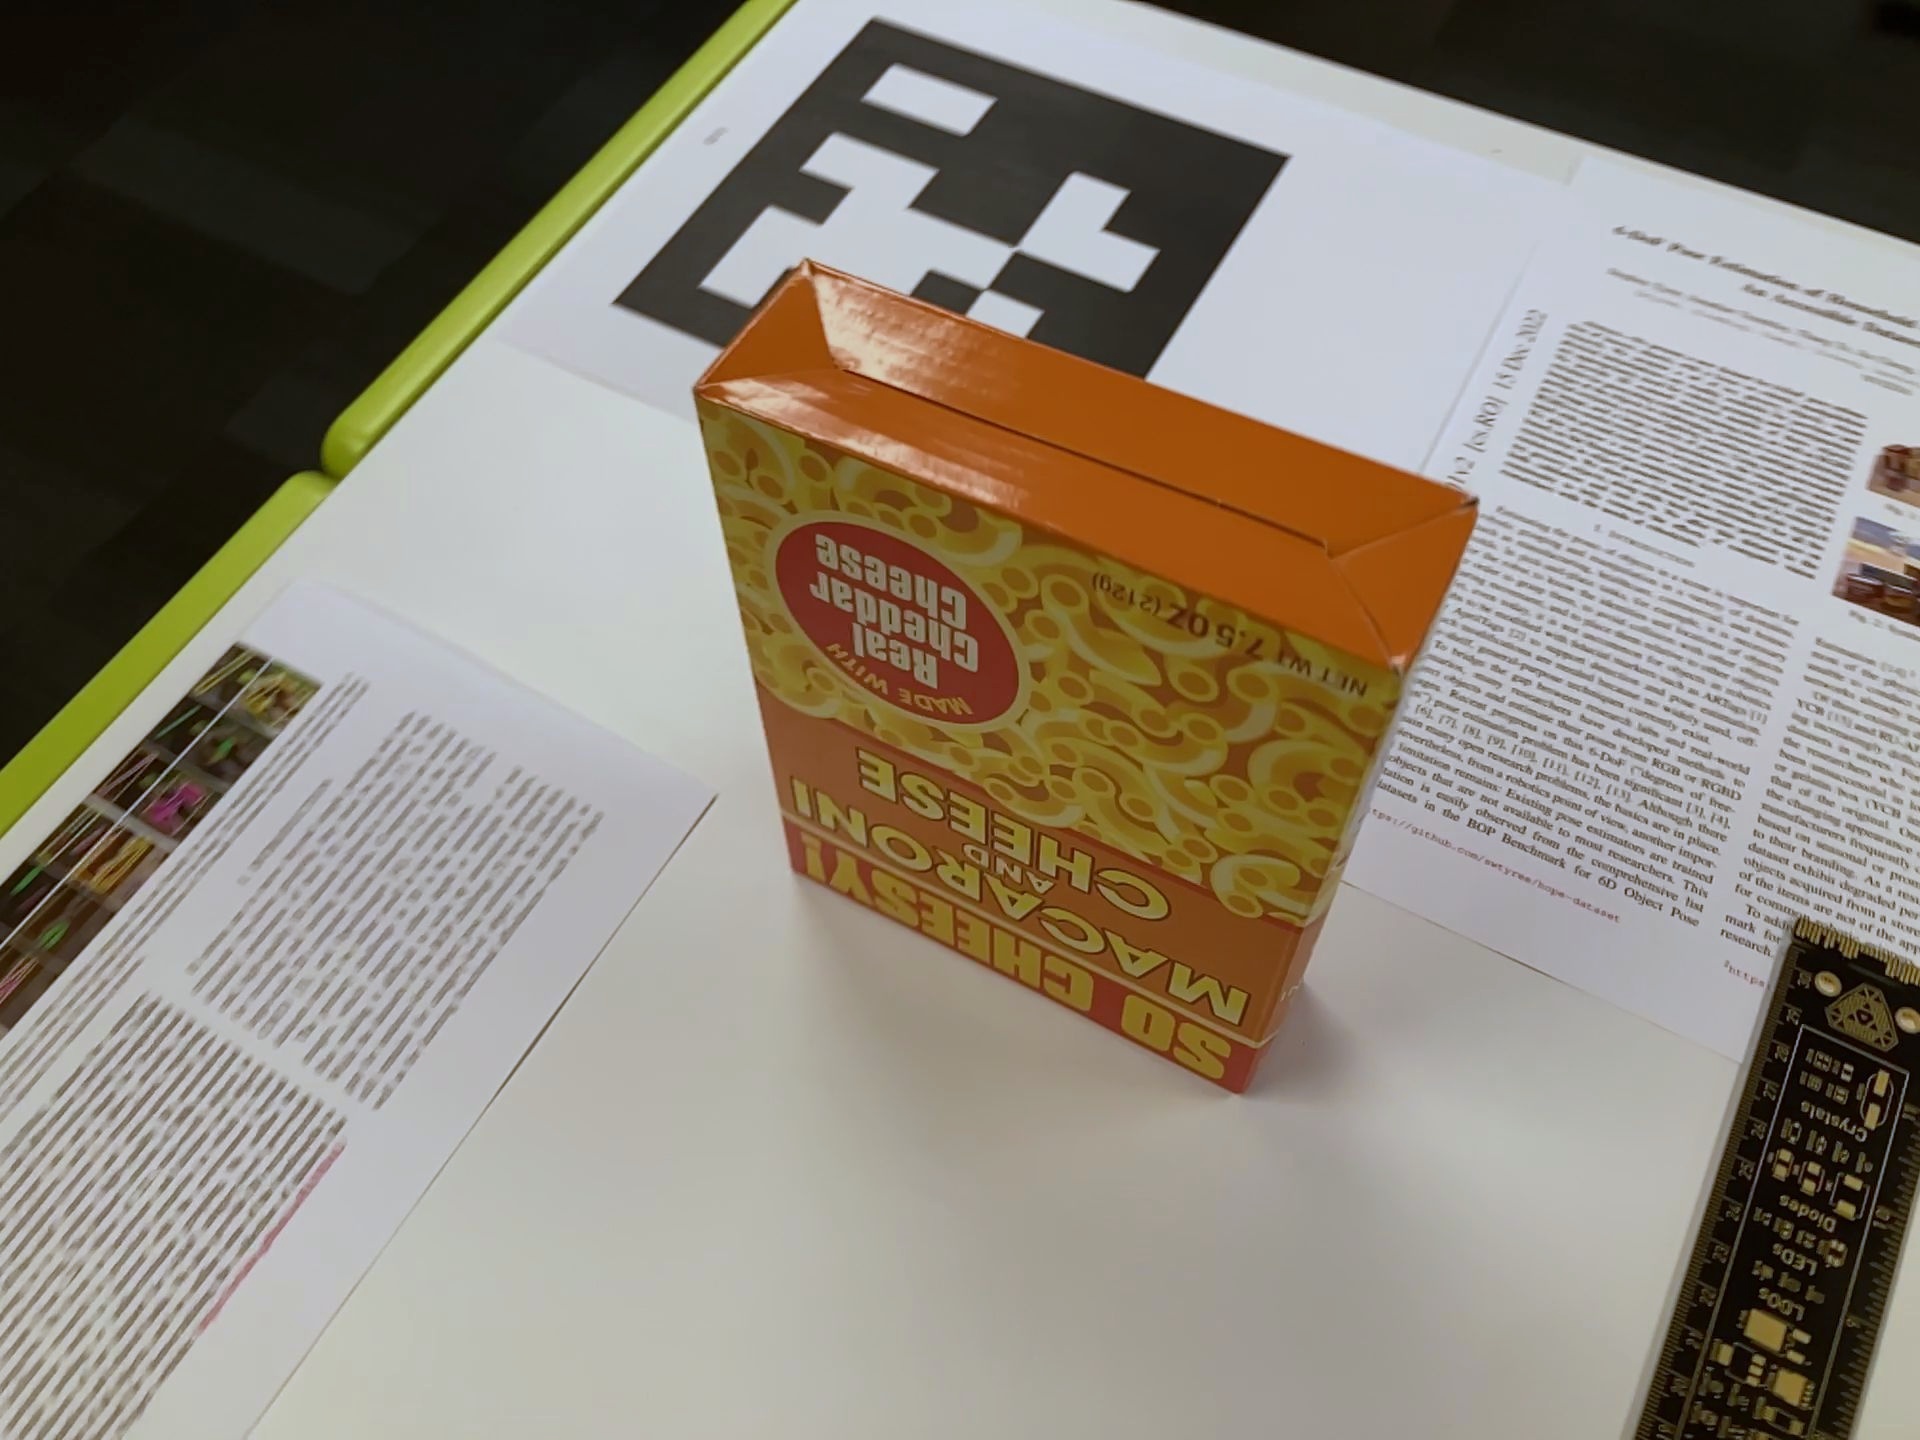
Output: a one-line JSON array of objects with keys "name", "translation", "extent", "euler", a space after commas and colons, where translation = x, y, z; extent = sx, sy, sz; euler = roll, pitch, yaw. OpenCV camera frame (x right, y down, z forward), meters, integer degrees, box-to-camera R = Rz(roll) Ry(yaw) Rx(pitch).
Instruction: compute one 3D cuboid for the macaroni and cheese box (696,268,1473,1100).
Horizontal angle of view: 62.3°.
[{"name": "macaroni and cheese box", "translation": [0.020, 0.003, 0.322], "extent": [0.124, 0.166, 0.040], "euler": [24, 60, 17]}]
